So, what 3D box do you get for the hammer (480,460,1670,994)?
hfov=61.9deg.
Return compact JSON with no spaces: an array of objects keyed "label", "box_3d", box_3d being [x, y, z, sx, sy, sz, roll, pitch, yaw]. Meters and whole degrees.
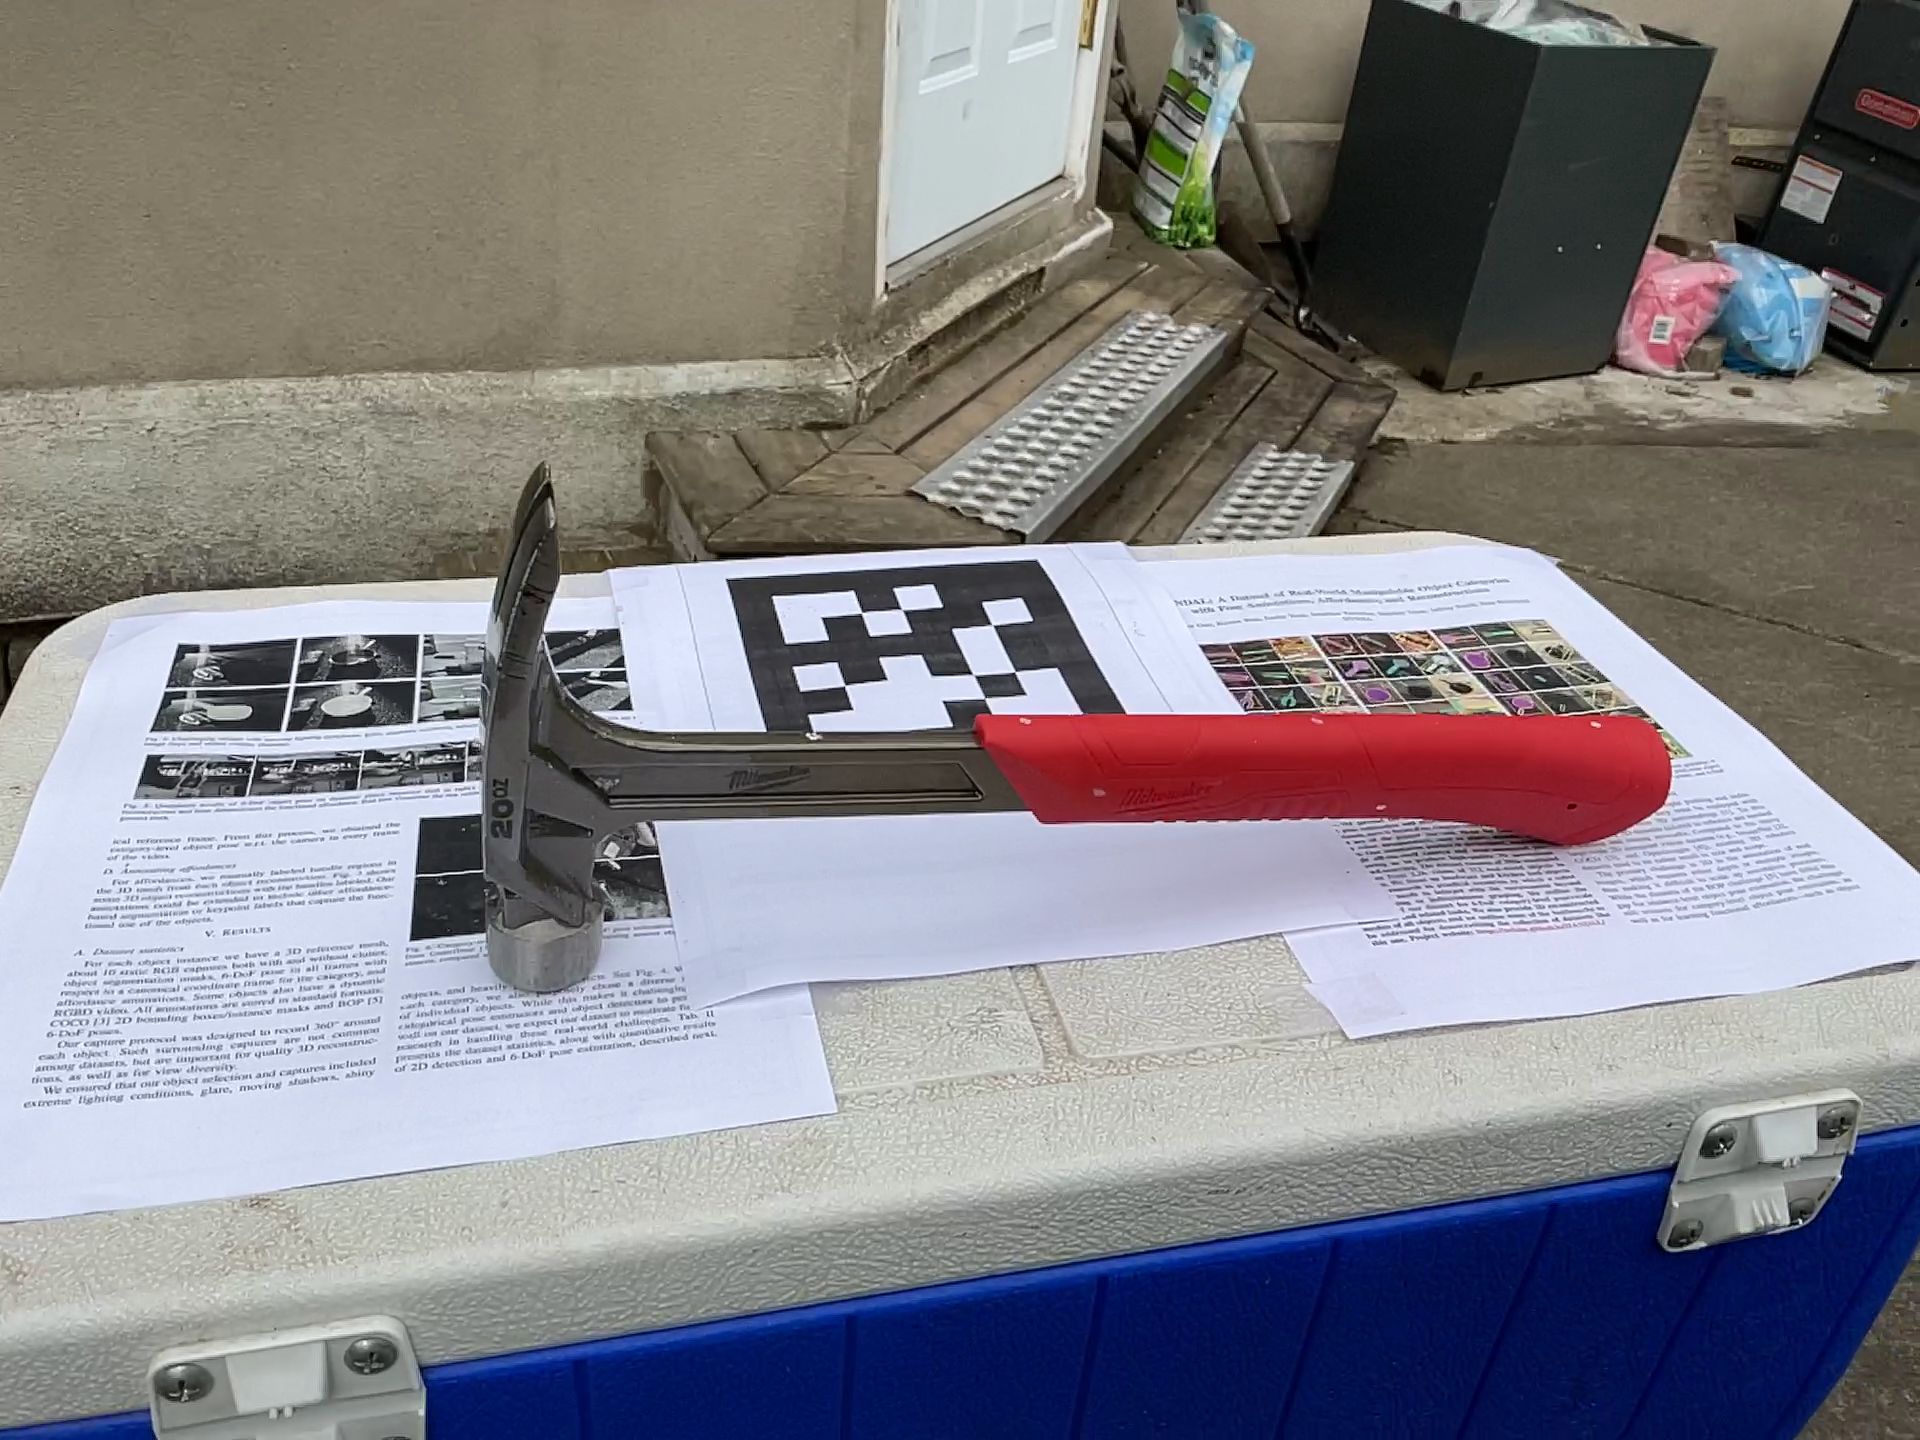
[{"label":"hammer","box_3d":[0.051,0.007,0.455,0.359,0.149,0.037,0,38,-19]}]
